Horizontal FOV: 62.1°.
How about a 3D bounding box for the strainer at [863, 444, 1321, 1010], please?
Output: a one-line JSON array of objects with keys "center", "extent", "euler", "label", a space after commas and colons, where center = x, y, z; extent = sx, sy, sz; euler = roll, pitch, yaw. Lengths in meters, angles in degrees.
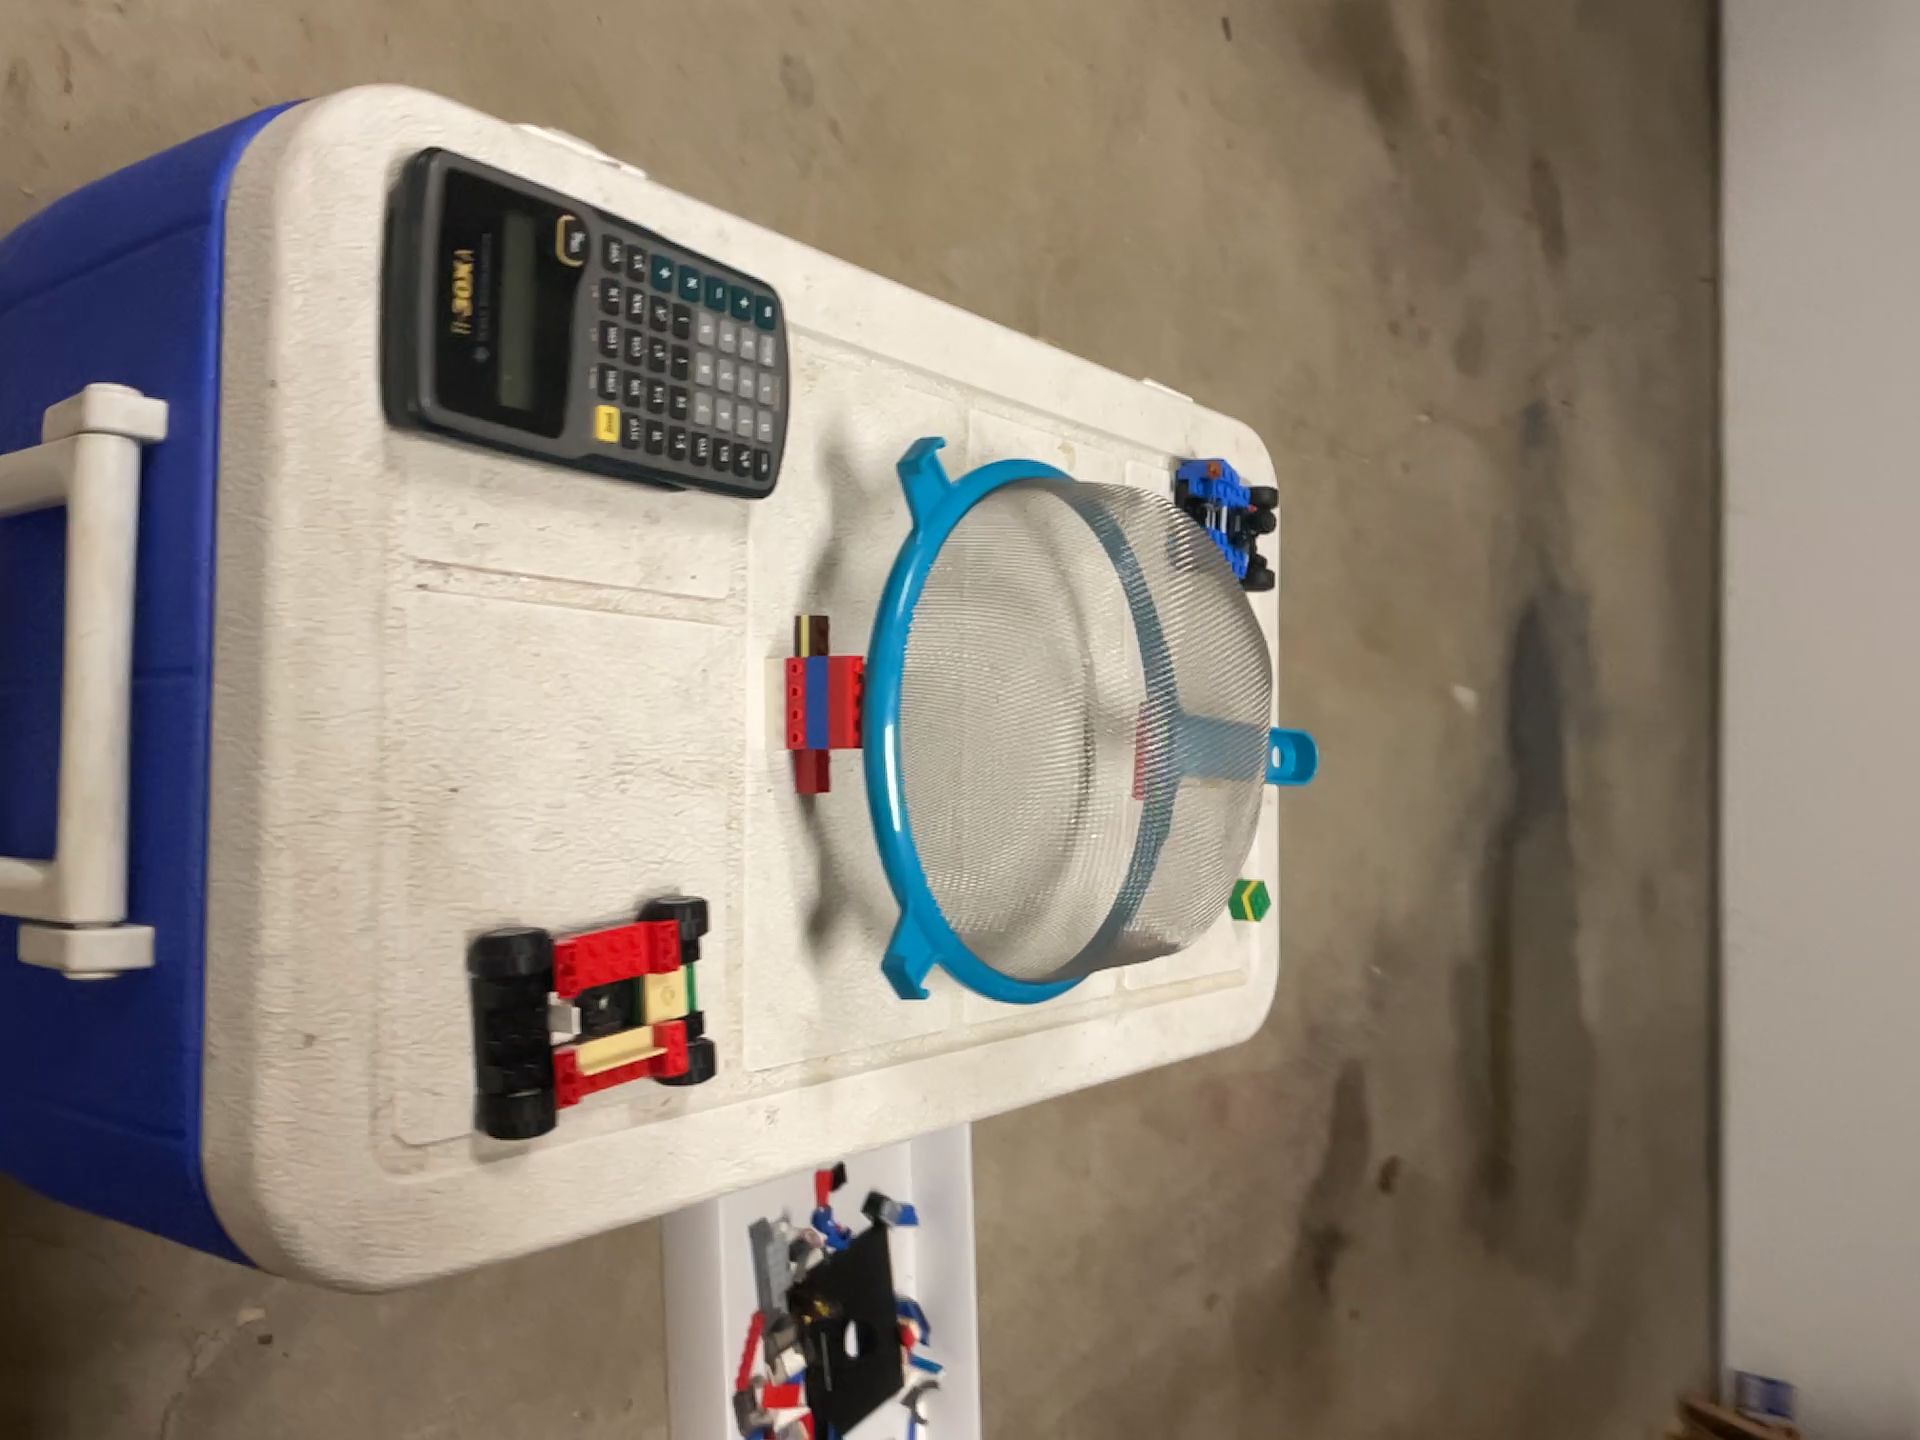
[{"center": [0.102, 0.010, 0.650], "extent": [0.340, 0.095, 0.211], "euler": [6, 85, -53], "label": "strainer"}]
